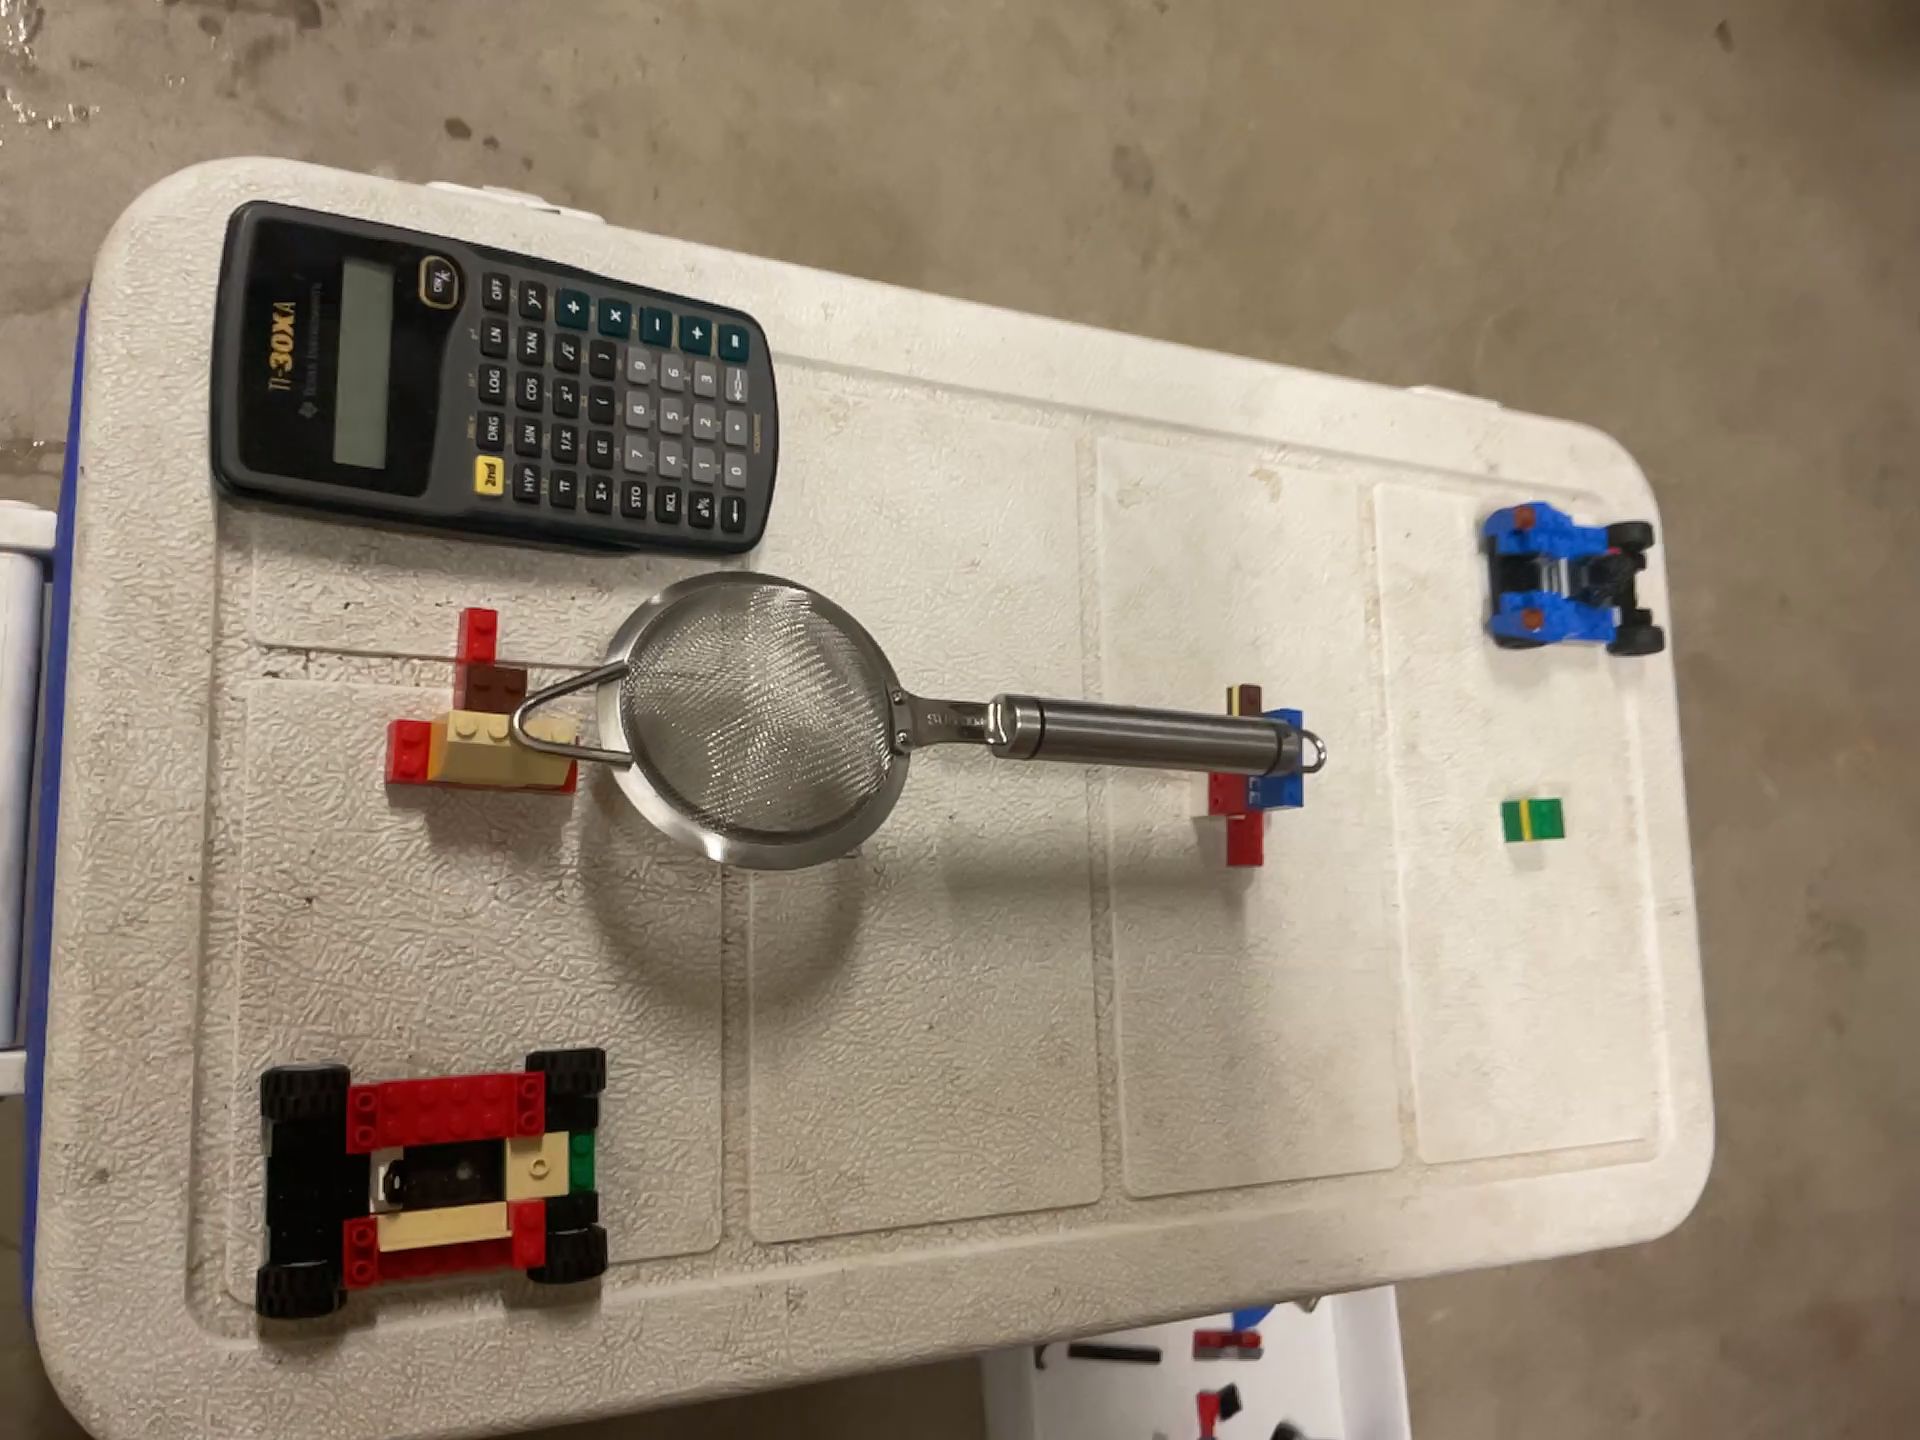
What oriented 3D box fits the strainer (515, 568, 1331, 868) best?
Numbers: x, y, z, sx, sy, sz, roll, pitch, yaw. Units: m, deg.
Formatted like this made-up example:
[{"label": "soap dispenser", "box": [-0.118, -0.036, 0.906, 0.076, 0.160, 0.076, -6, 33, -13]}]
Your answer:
[{"label": "strainer", "box": [0.010, -0.001, 0.450, 0.258, 0.050, 0.087, 5, 64, -31]}]
